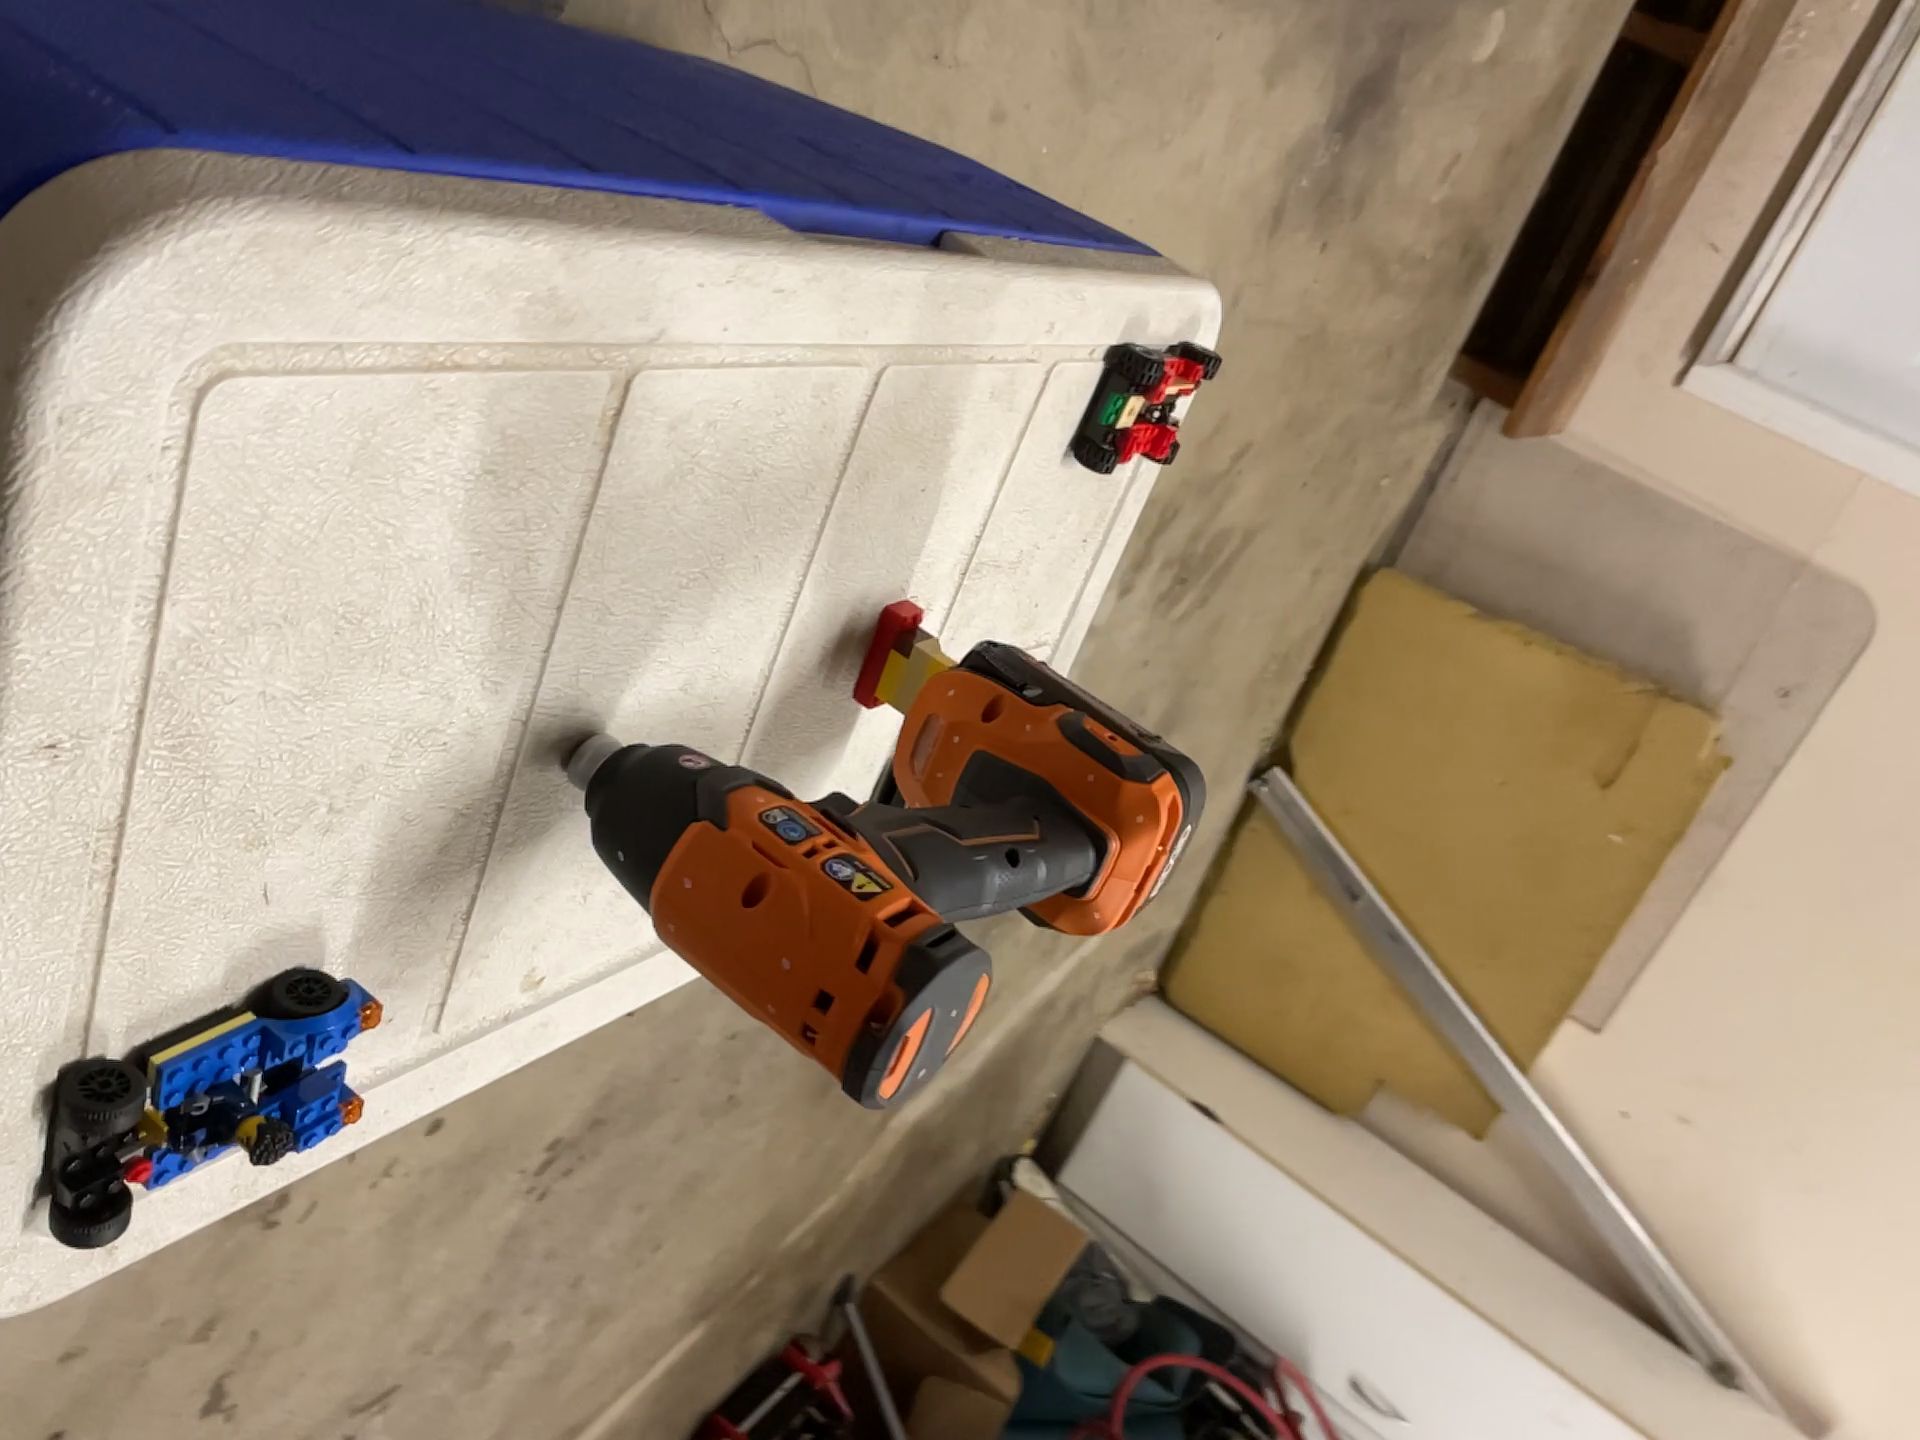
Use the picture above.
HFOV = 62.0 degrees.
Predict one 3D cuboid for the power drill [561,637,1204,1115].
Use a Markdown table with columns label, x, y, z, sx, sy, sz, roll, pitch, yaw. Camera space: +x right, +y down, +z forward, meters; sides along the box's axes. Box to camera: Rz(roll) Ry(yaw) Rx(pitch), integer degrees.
| label | x | y | z | sx | sy | sz | roll | pitch | yaw |
| --- | --- | --- | --- | --- | --- | --- | --- | --- | --- |
| power drill | -0.024 | 0.036 | 0.578 | 0.226 | 0.164 | 0.084 | -21 | 140 | -55 |
